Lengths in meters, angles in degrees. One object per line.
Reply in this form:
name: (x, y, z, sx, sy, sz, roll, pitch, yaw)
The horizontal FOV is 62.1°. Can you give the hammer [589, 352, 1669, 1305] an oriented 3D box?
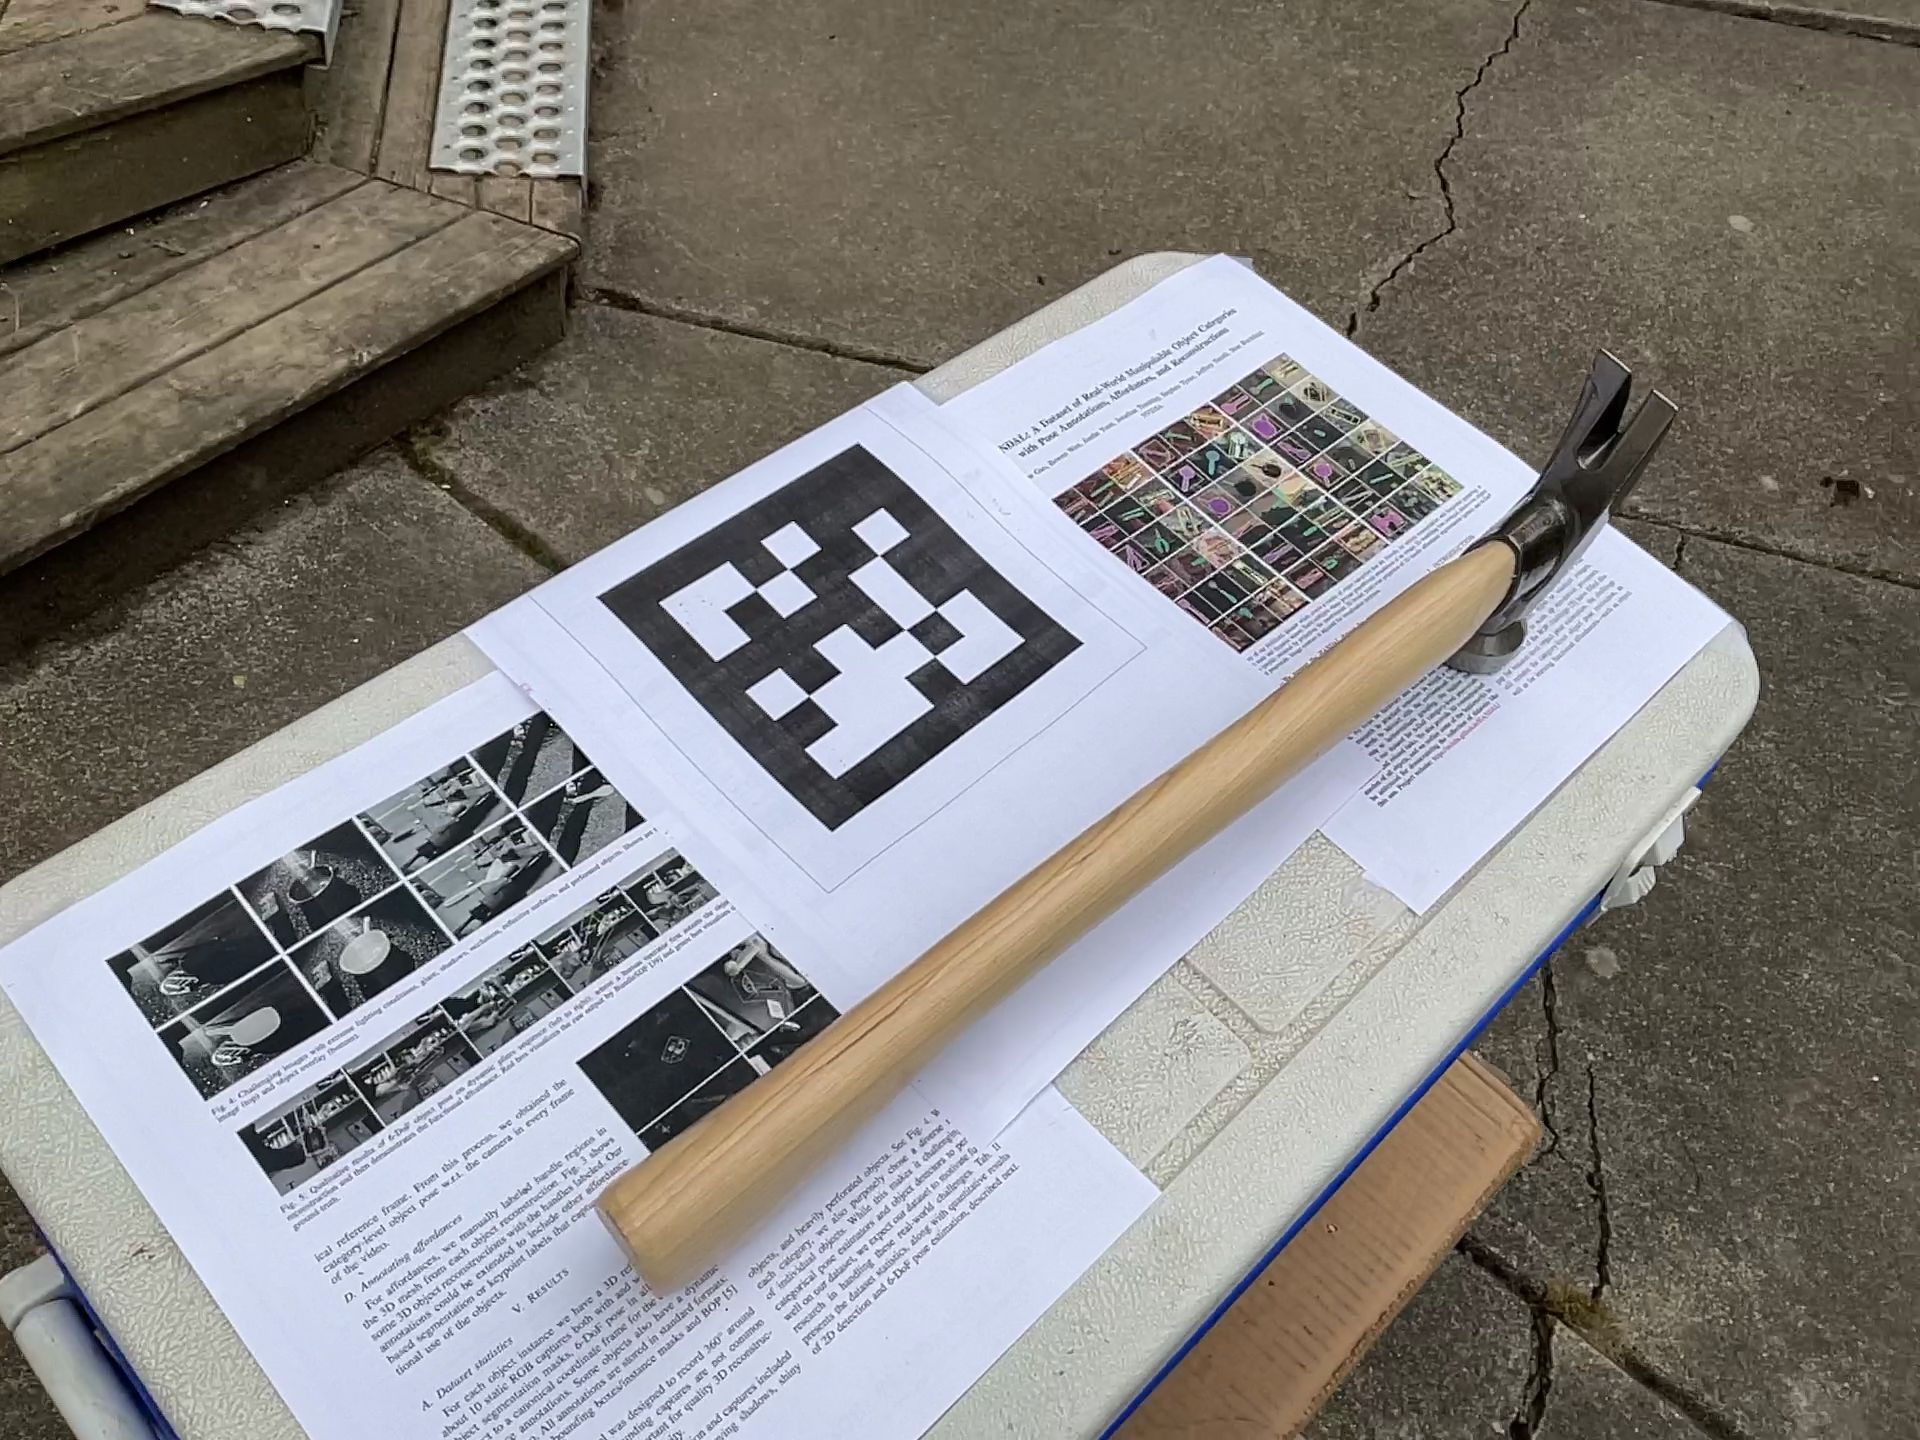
hammer: (0.066, 0.028, 0.493, 0.410, 0.146, 0.038, -35, 68, -24)
